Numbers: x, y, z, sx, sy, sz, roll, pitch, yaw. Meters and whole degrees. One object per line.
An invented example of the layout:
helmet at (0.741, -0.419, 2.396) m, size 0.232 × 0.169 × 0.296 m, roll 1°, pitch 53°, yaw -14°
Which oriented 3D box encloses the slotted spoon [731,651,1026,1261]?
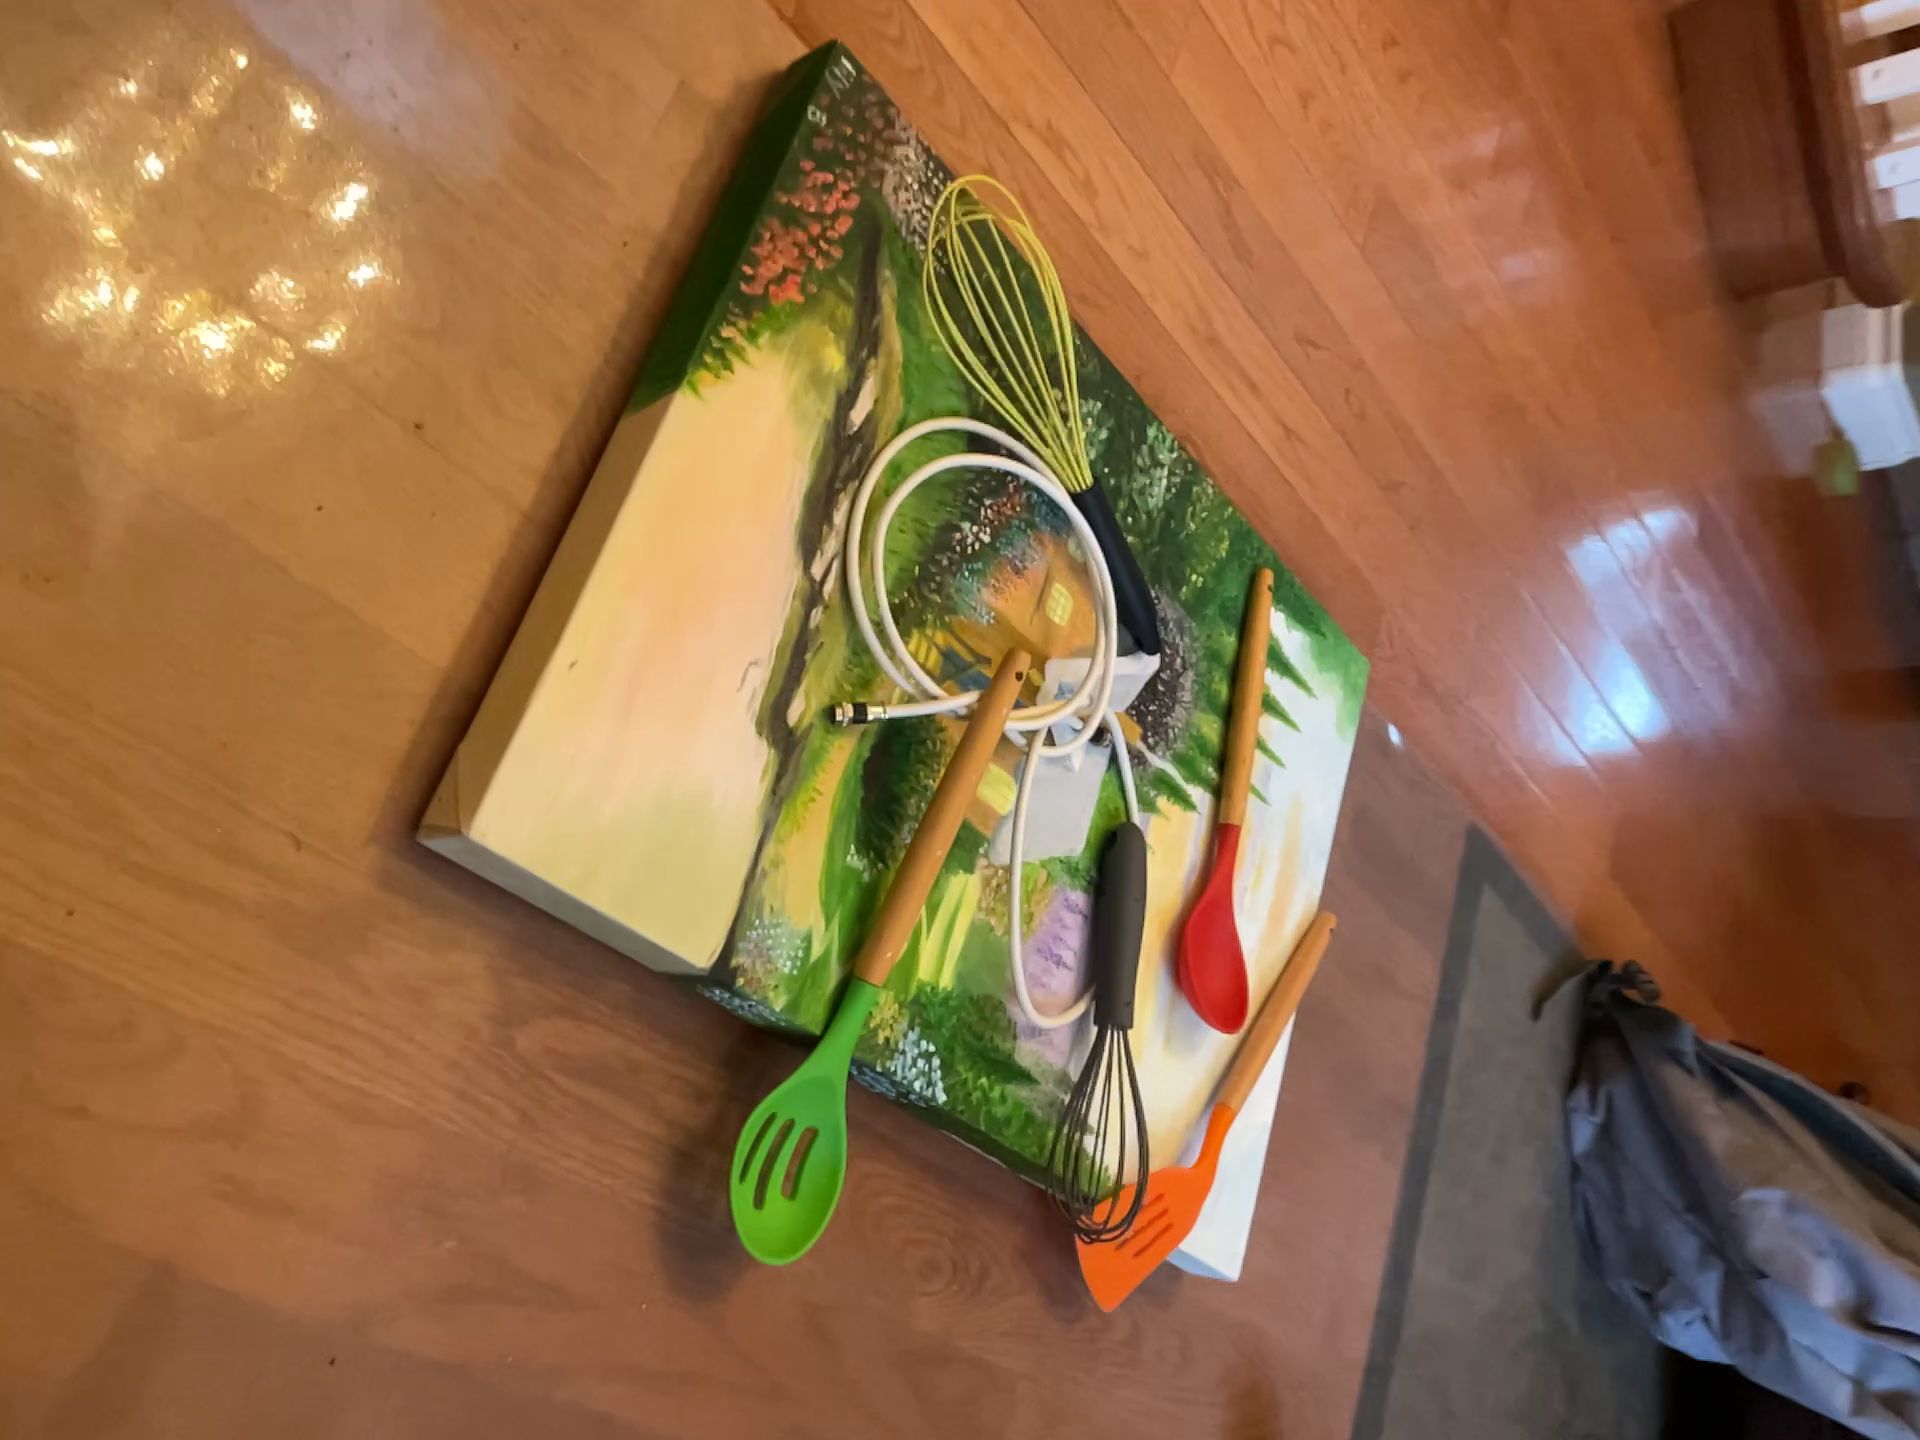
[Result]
slotted spoon at (-0.034, 0.106, 0.775) m, size 0.070 × 0.031 × 0.314 m, roll 36°, pitch 72°, yaw -39°

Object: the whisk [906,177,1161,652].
whisk at (0.053, -0.158, 0.898) m, size 0.080 × 0.067 × 0.311 m, roll -52°, pitch 128°, yaw -32°

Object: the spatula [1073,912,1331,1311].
spatula at (0.166, 0.228, 1.006) m, size 0.323 × 0.041 × 0.081 m, roll -49°, pitch 131°, yaw -41°

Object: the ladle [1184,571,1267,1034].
ladle at (0.178, 0.045, 1.027) m, size 0.069 × 0.031 × 0.316 m, roll 31°, pitch 61°, yaw -43°

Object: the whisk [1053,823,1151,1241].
whisk at (0.087, 0.170, 0.897) m, size 0.055 × 0.055 × 0.239 m, roll 38°, pitch 52°, yaw -51°
